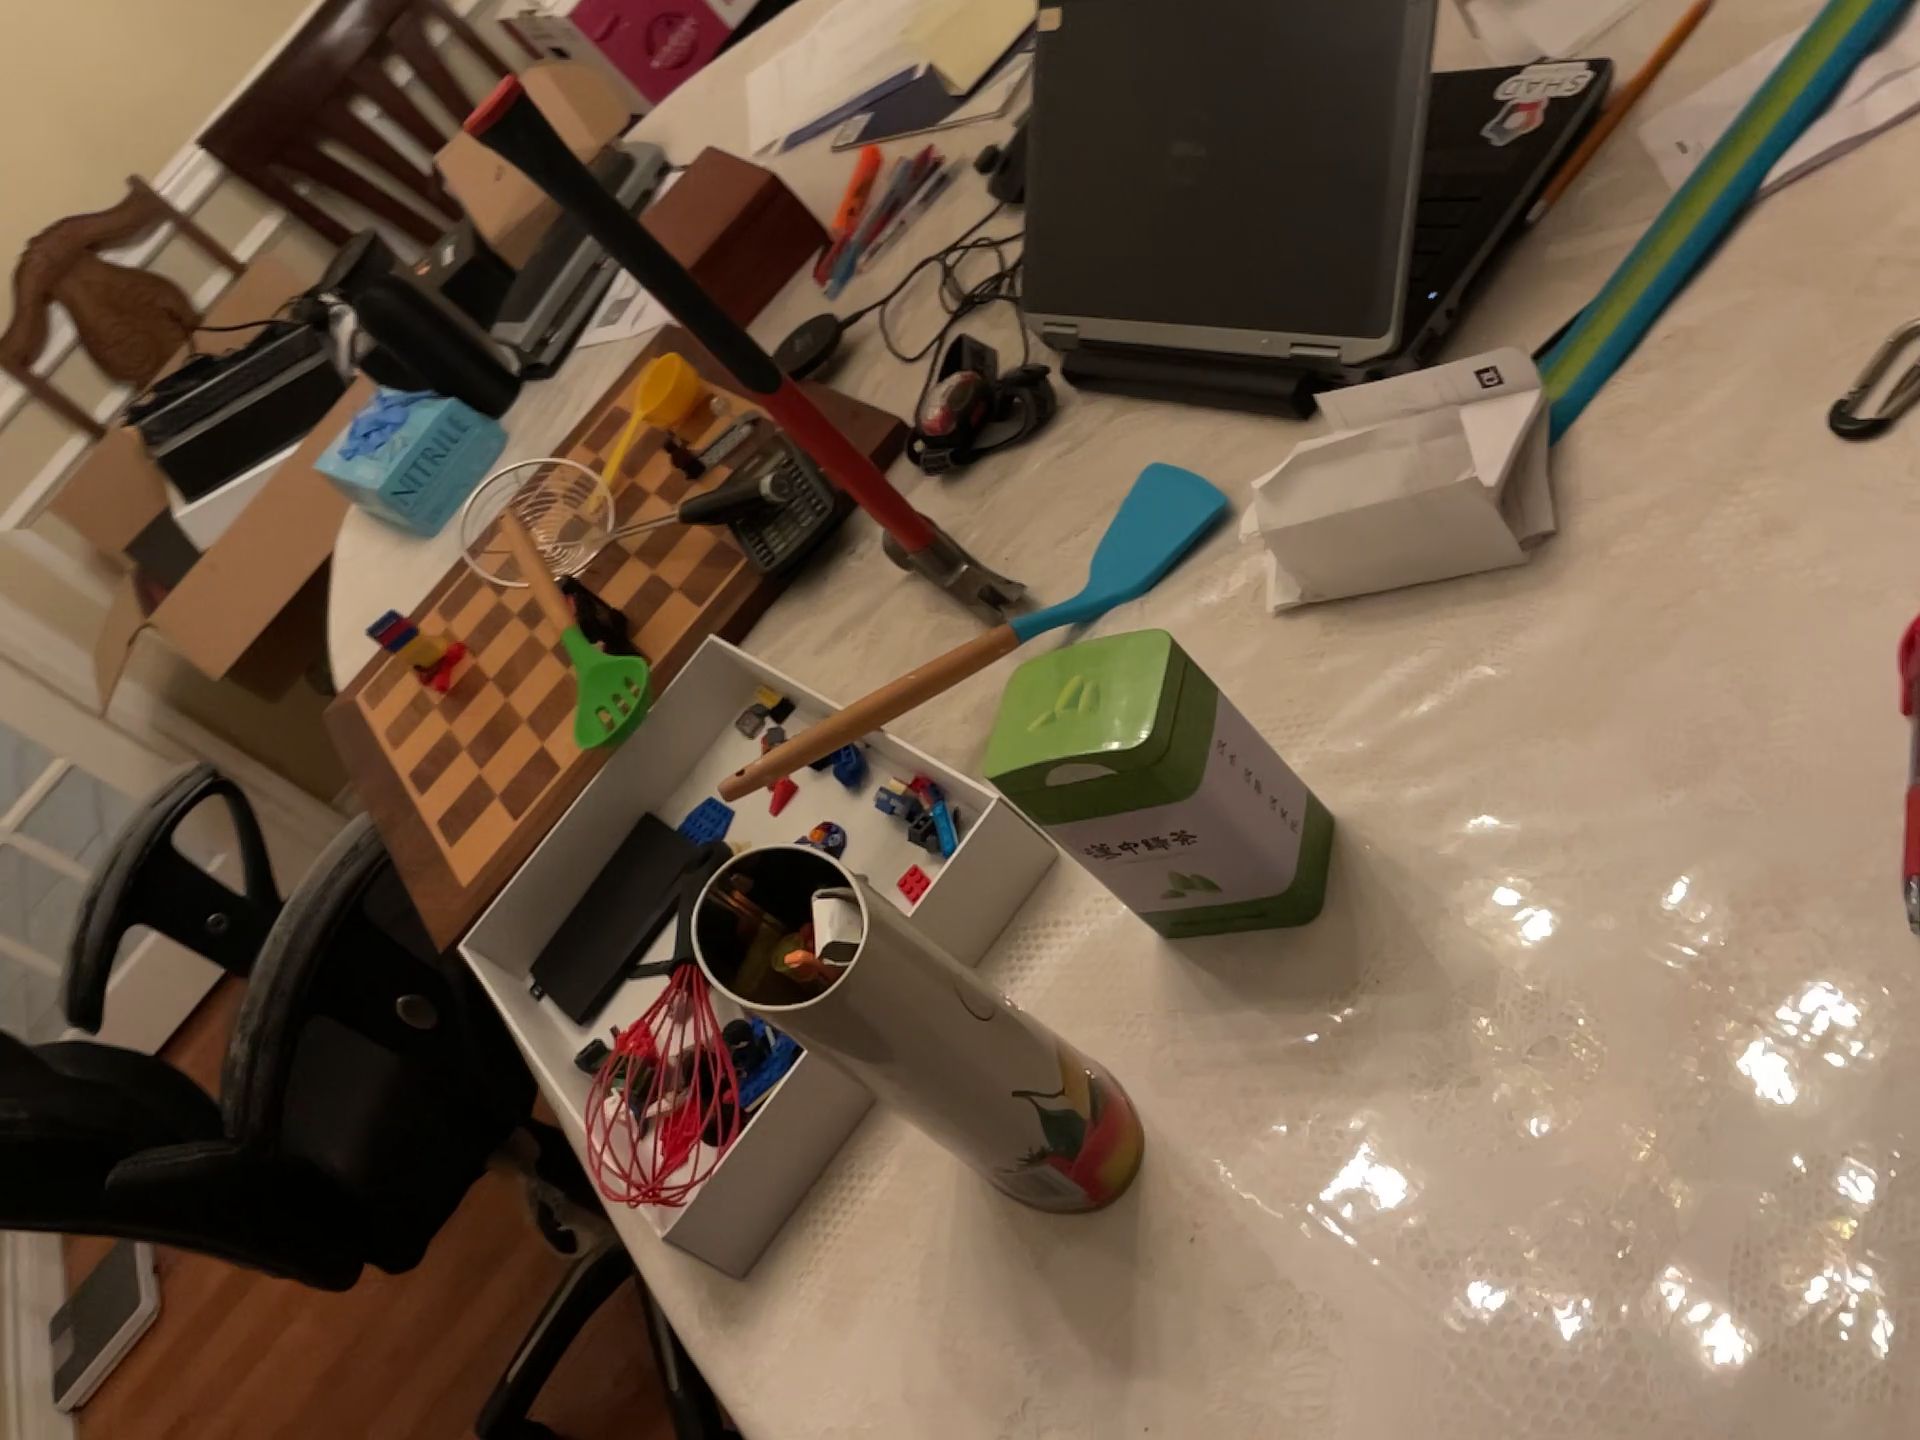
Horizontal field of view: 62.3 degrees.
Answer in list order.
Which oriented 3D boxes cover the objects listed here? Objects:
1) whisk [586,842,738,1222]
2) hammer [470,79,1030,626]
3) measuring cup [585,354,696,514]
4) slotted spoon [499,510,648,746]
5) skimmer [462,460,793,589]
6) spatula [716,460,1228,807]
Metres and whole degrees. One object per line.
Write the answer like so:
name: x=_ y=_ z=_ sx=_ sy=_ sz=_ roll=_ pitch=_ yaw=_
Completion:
whisk: x=-0.146 y=0.150 z=0.849 sx=0.073 sy=0.073 sz=0.296 roll=-18 pitch=27 yaw=8
hammer: x=-0.107 y=-0.190 z=0.878 sx=0.038 sy=0.385 sz=0.143 roll=-48 pitch=35 yaw=-2
measuring cup: x=-0.277 y=-0.242 z=1.379 sx=0.062 sy=0.029 sz=0.156 roll=34 pitch=95 yaw=51
slotted spoon: x=-0.282 y=-0.075 z=1.129 sx=0.070 sy=0.031 sz=0.314 roll=-46 pitch=44 yaw=6
skimmer: x=-0.261 y=-0.167 z=1.217 sx=0.364 sy=0.090 sz=0.127 roll=-4 pitch=52 yaw=49
spatula: x=0.003 y=-0.043 z=0.871 sx=0.317 sy=0.044 sz=0.082 roll=-30 pitch=35 yaw=-12
